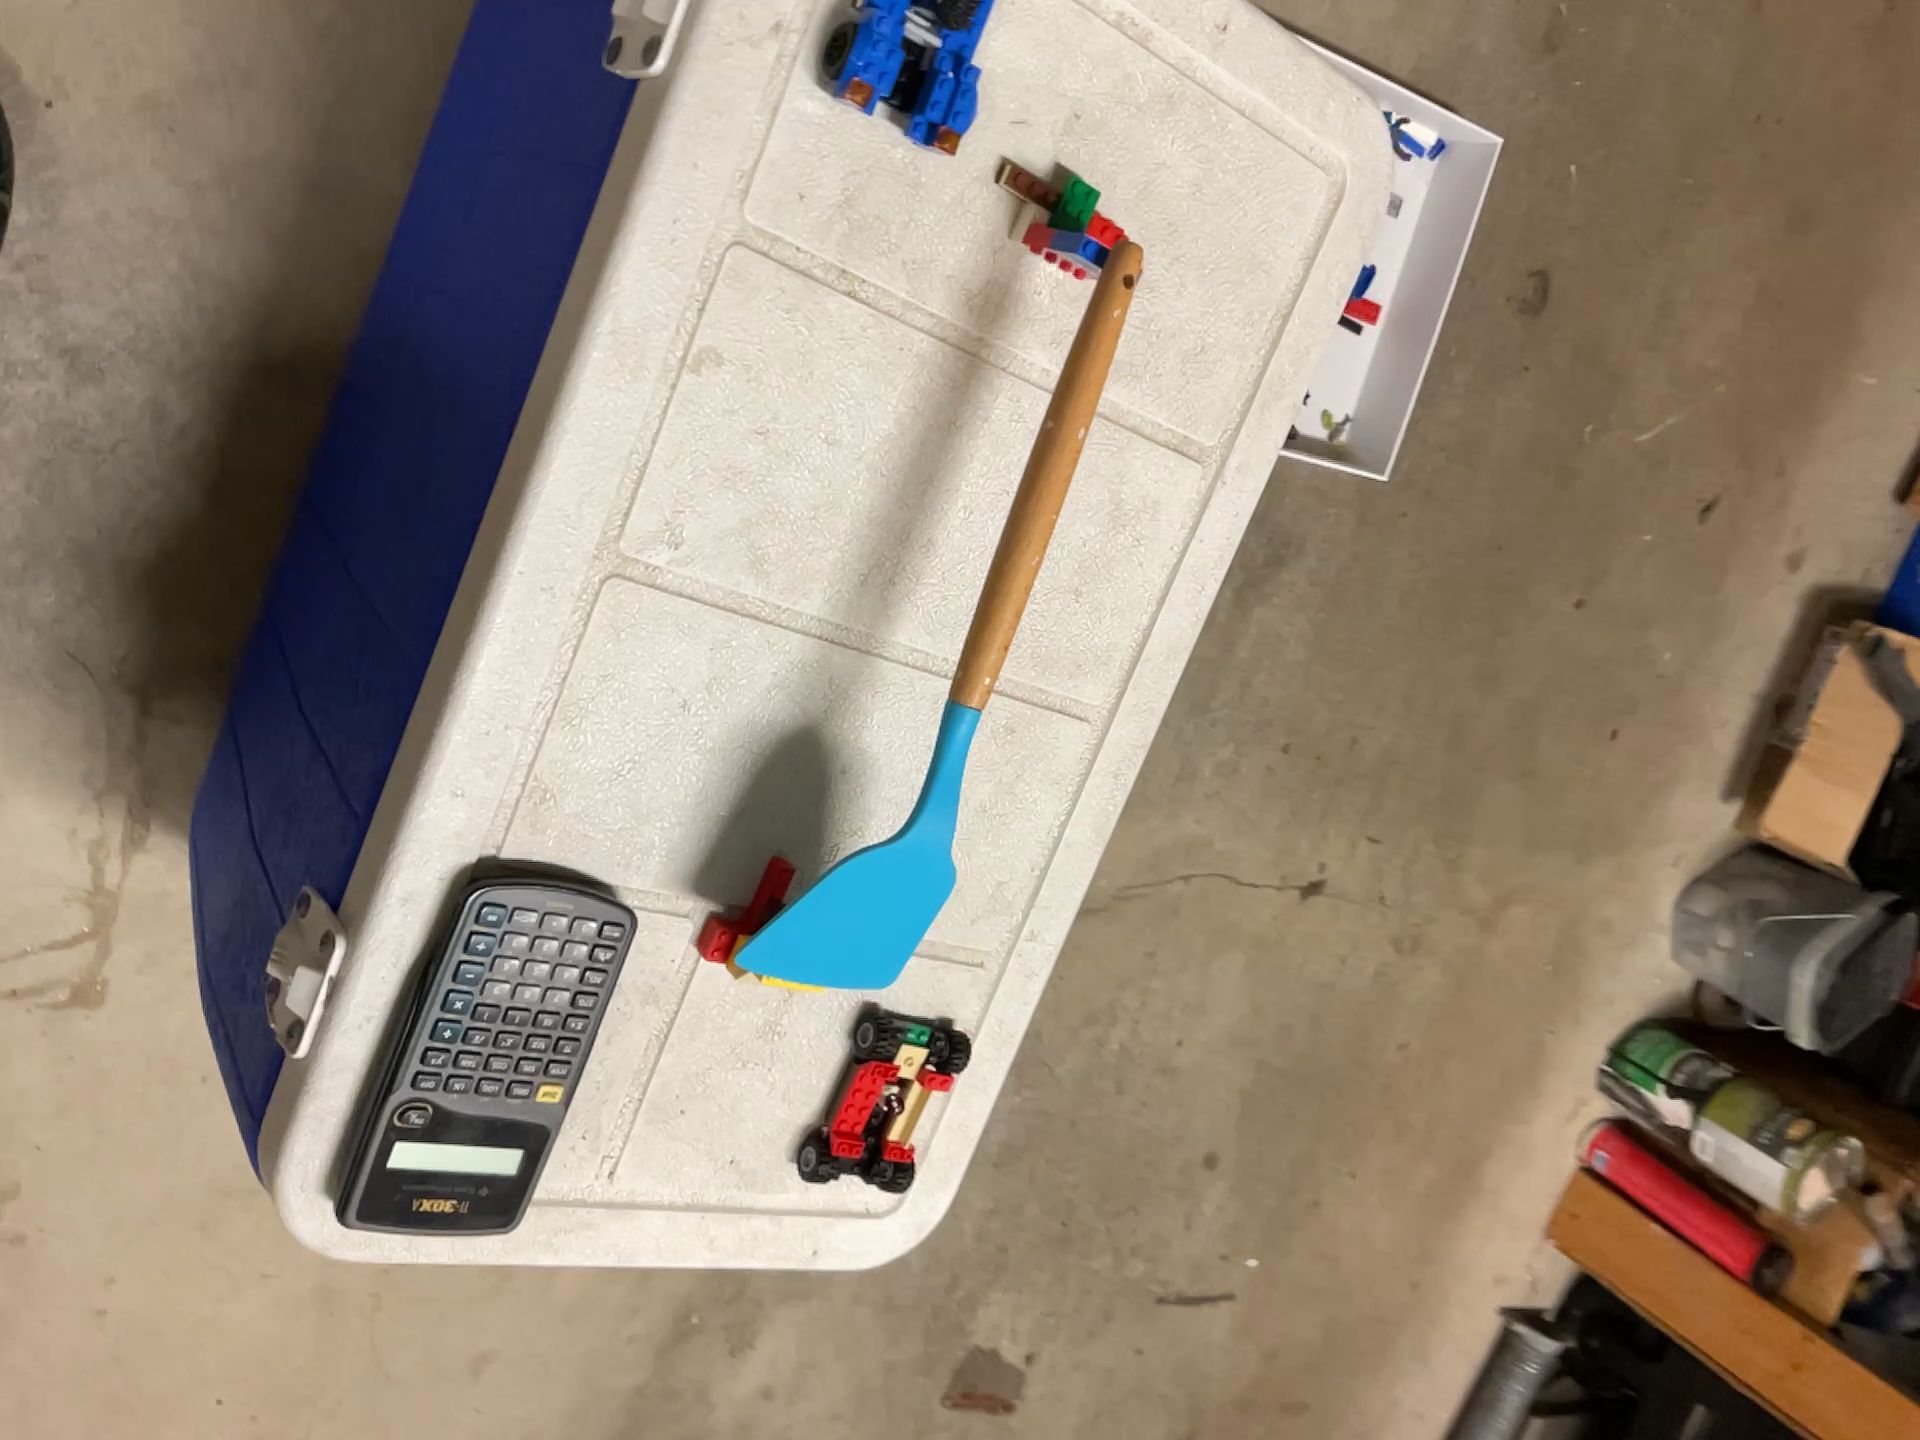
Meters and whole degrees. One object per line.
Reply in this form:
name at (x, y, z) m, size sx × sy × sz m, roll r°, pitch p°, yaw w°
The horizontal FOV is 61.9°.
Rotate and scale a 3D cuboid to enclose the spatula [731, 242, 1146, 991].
spatula at (0.004, -0.034, 0.626) m, size 0.082 × 0.044 × 0.317 m, roll 17°, pitch 97°, yaw -36°
